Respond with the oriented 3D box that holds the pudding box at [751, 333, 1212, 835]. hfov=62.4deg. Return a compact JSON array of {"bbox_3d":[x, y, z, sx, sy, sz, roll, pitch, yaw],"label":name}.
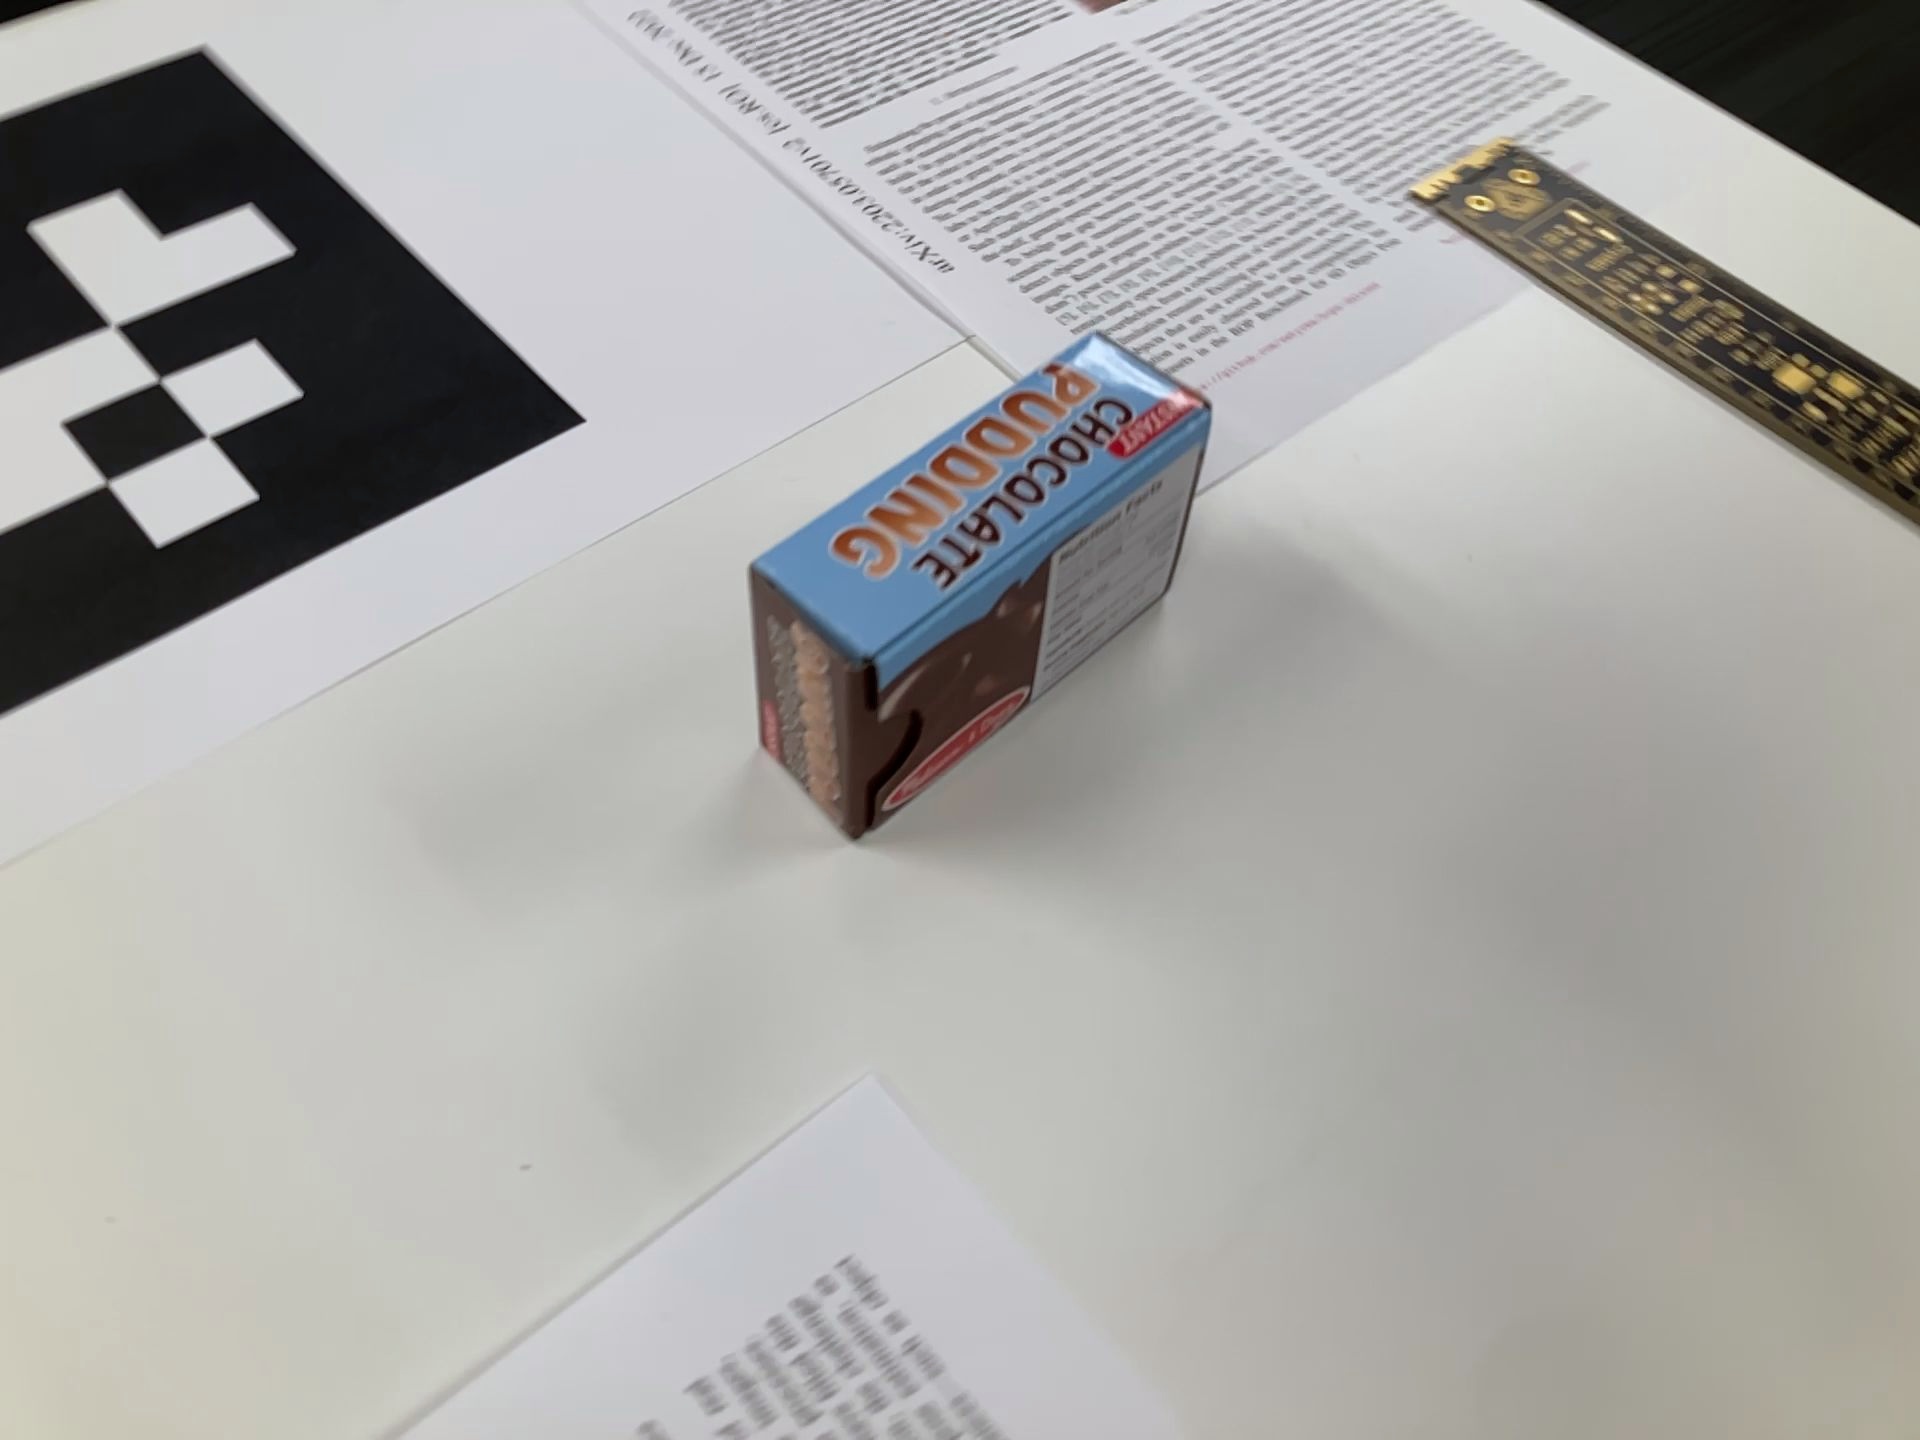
[{"bbox_3d":[0.004,-0.025,0.274,0.030,0.049,0.083,39,61,23],"label":"pudding box"}]
